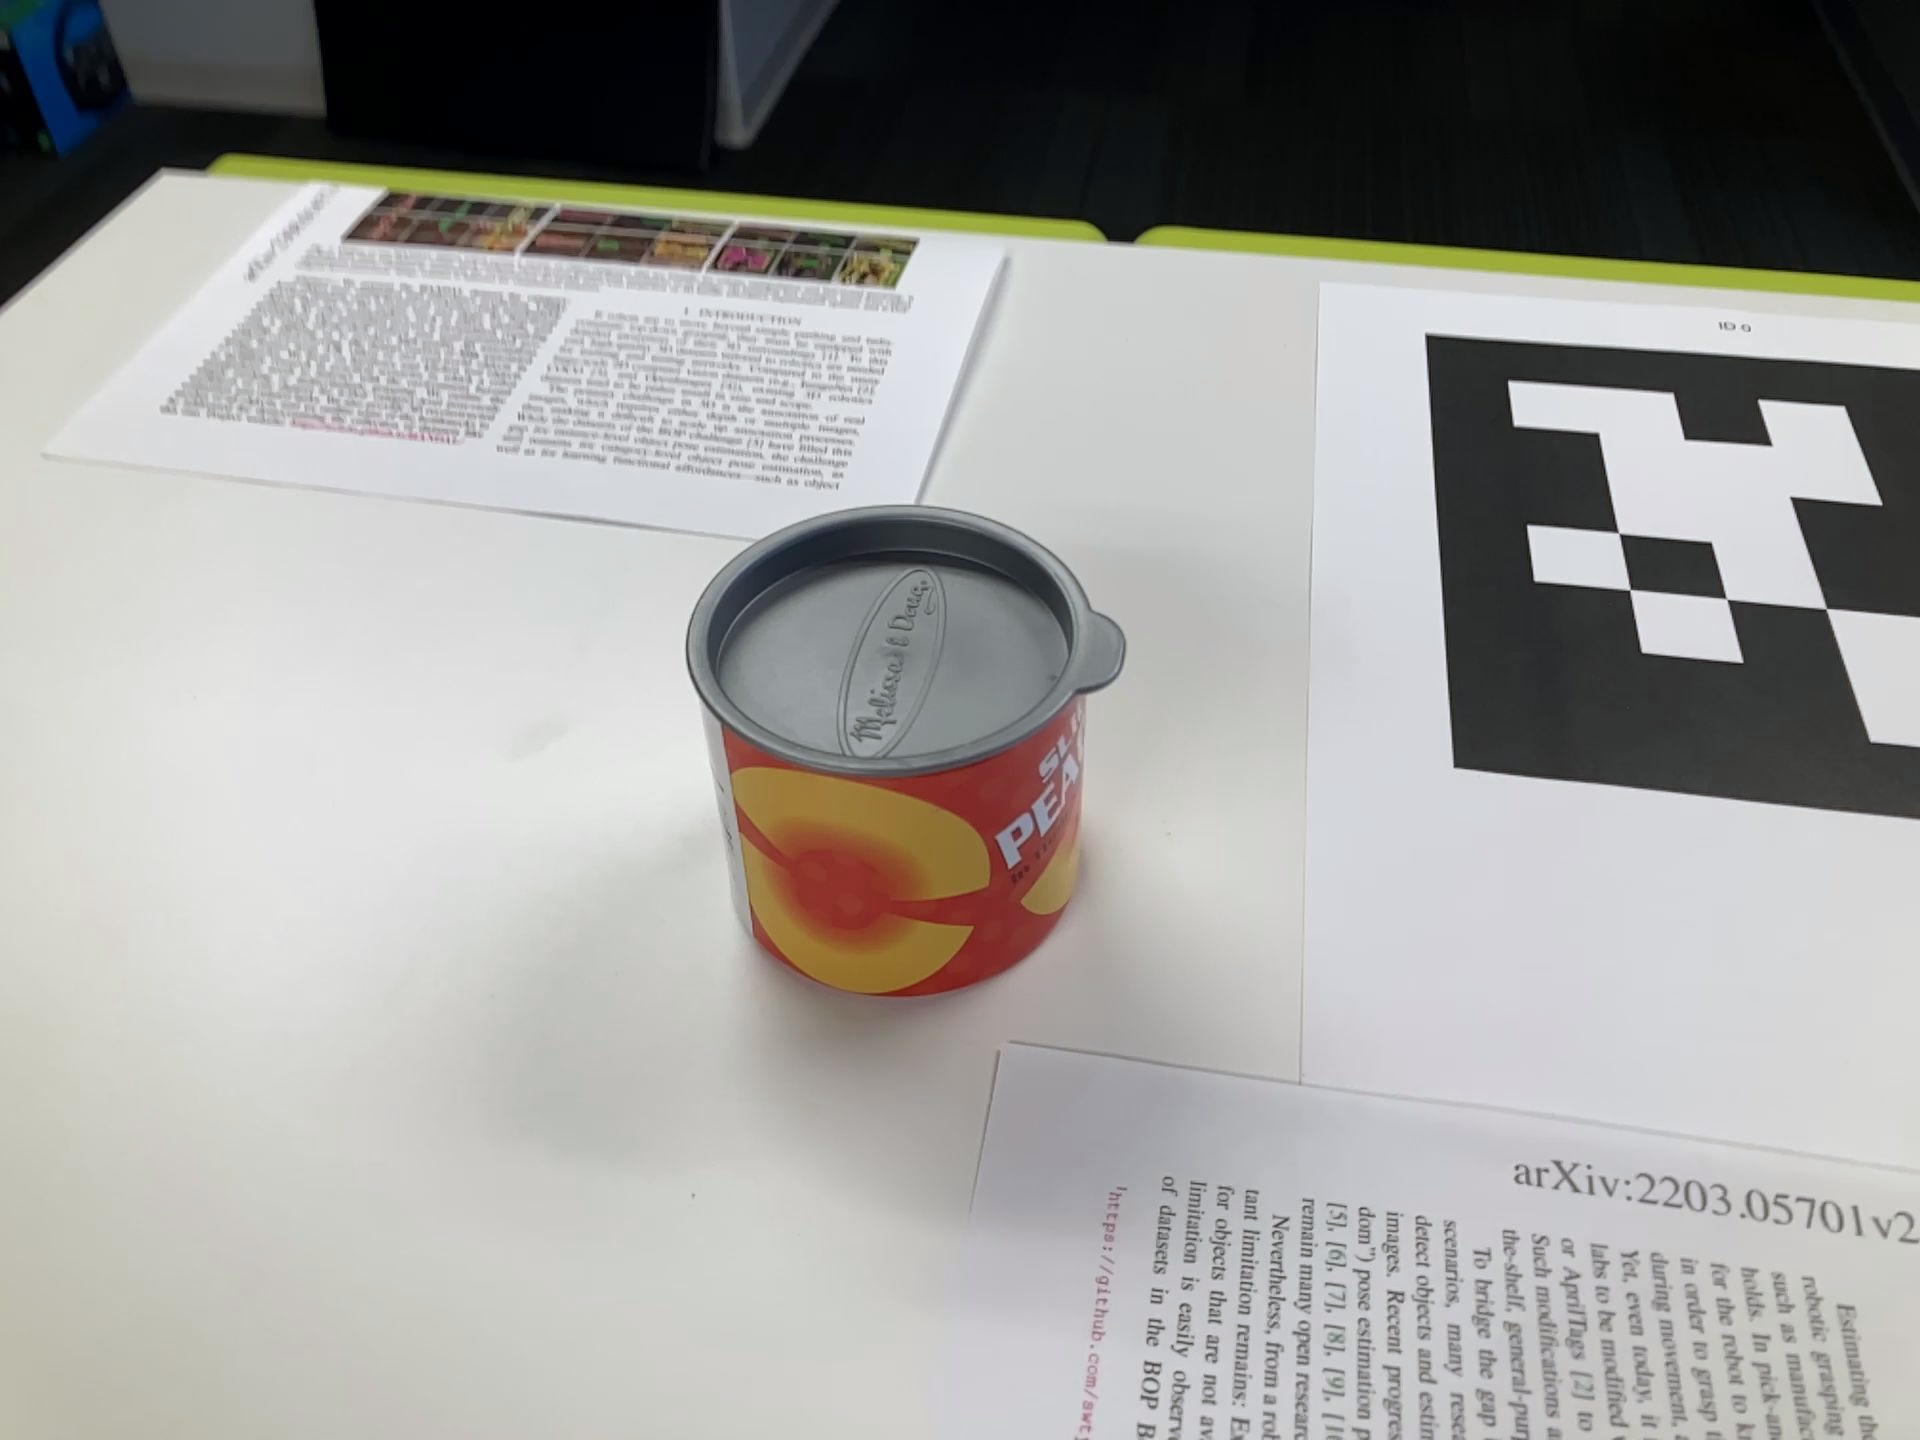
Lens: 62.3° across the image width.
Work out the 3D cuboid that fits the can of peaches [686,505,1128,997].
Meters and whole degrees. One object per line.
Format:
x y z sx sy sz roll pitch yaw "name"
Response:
-0.008 0.006 0.276 0.071 0.058 0.071 0 44 0 "can of peaches"
